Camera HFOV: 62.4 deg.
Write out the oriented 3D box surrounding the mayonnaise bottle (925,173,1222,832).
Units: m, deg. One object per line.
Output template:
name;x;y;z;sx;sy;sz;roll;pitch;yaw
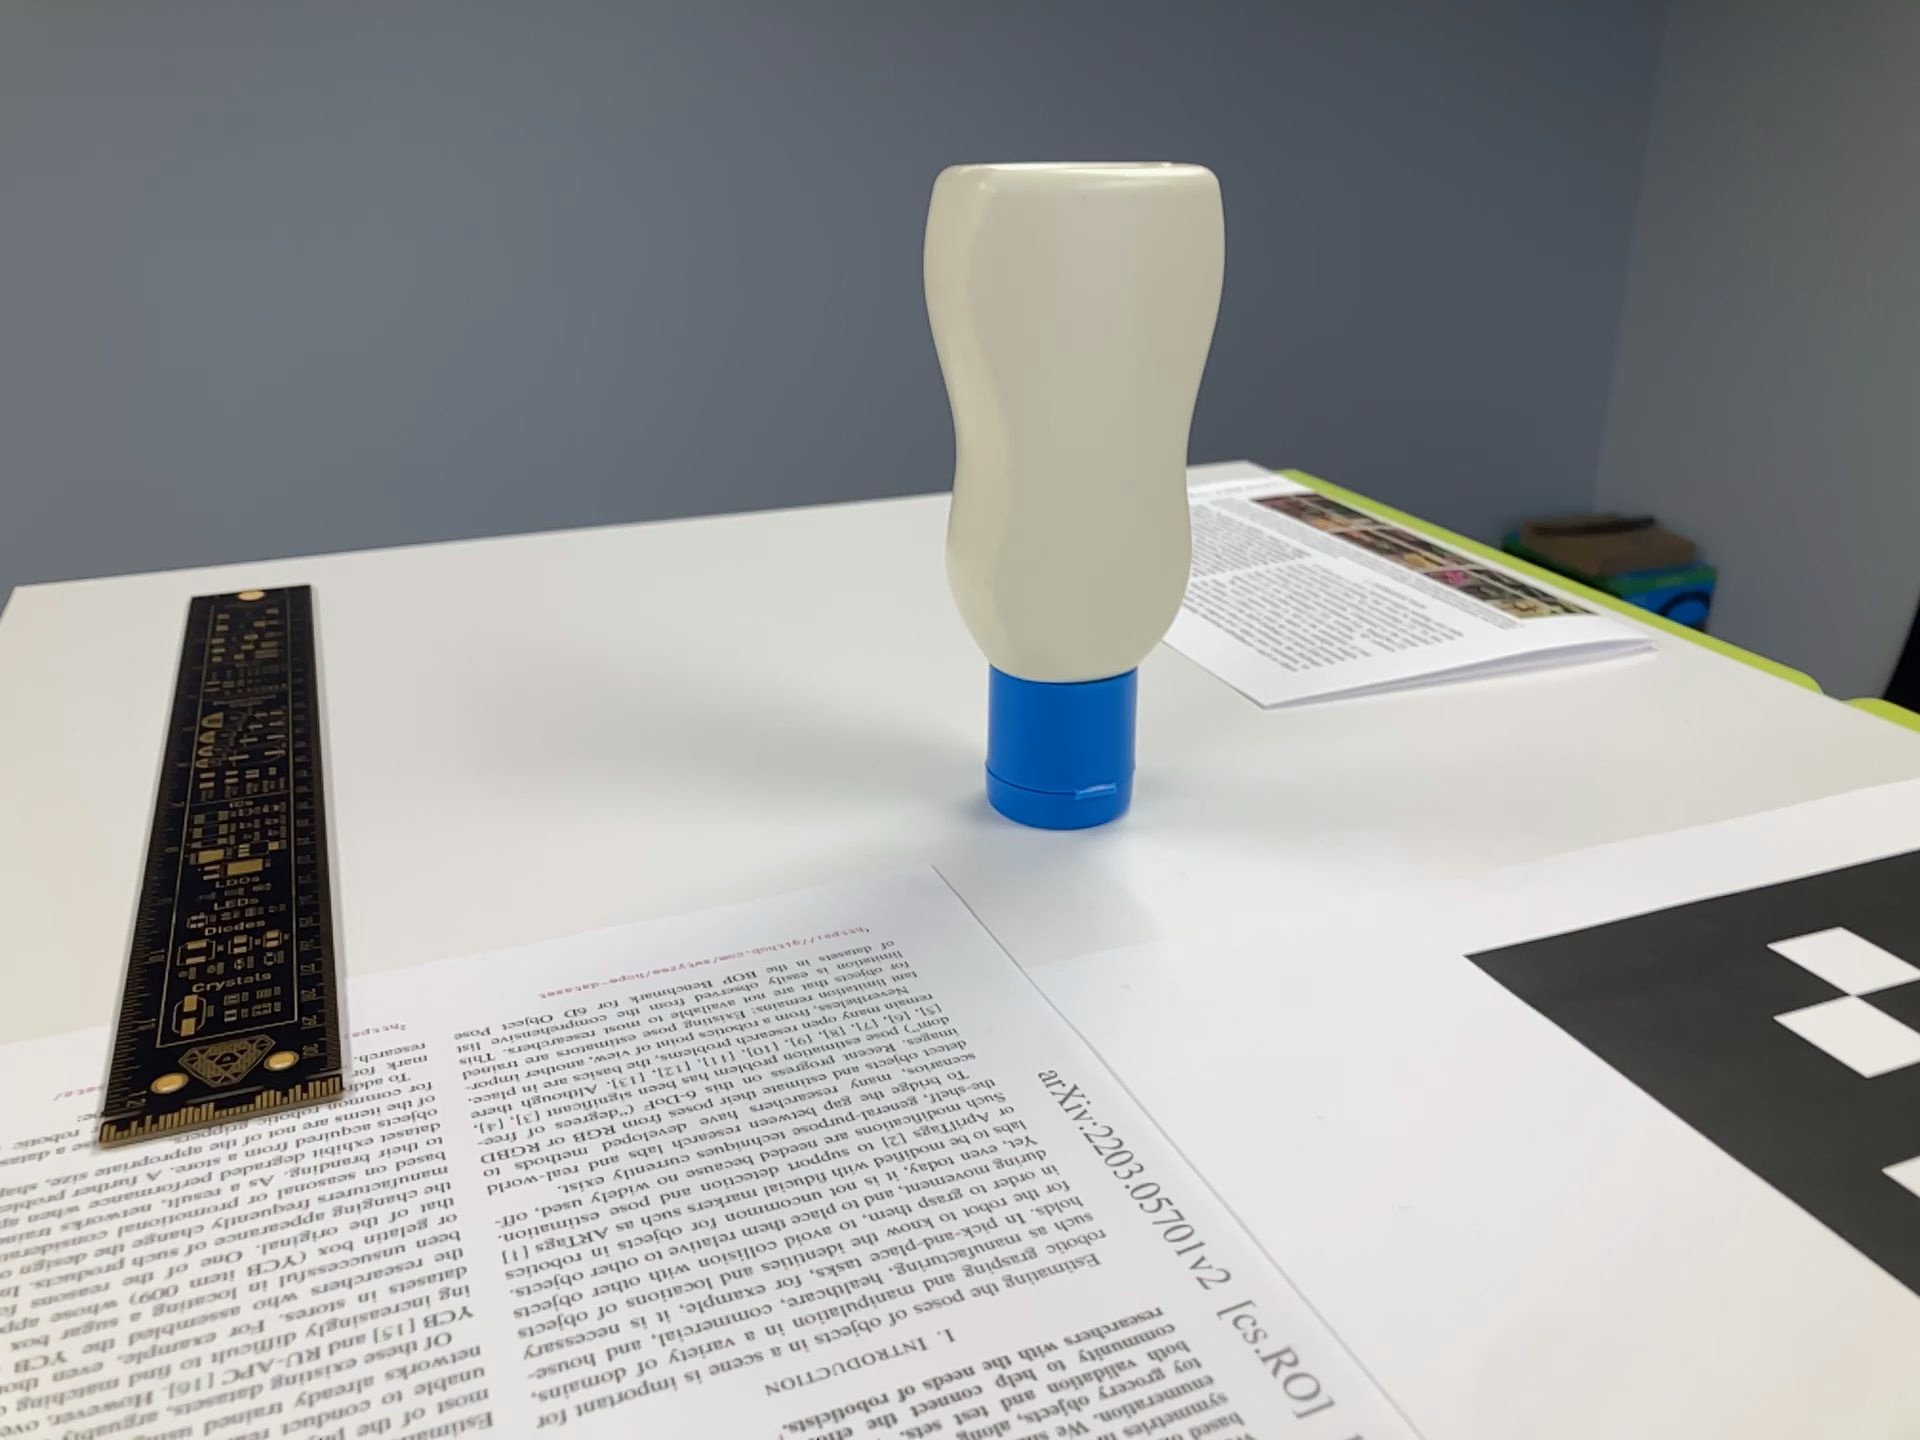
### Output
mayonnaise bottle;0.025;-0.048;0.368;0.065;0.148;0.041;-9;23;-22
